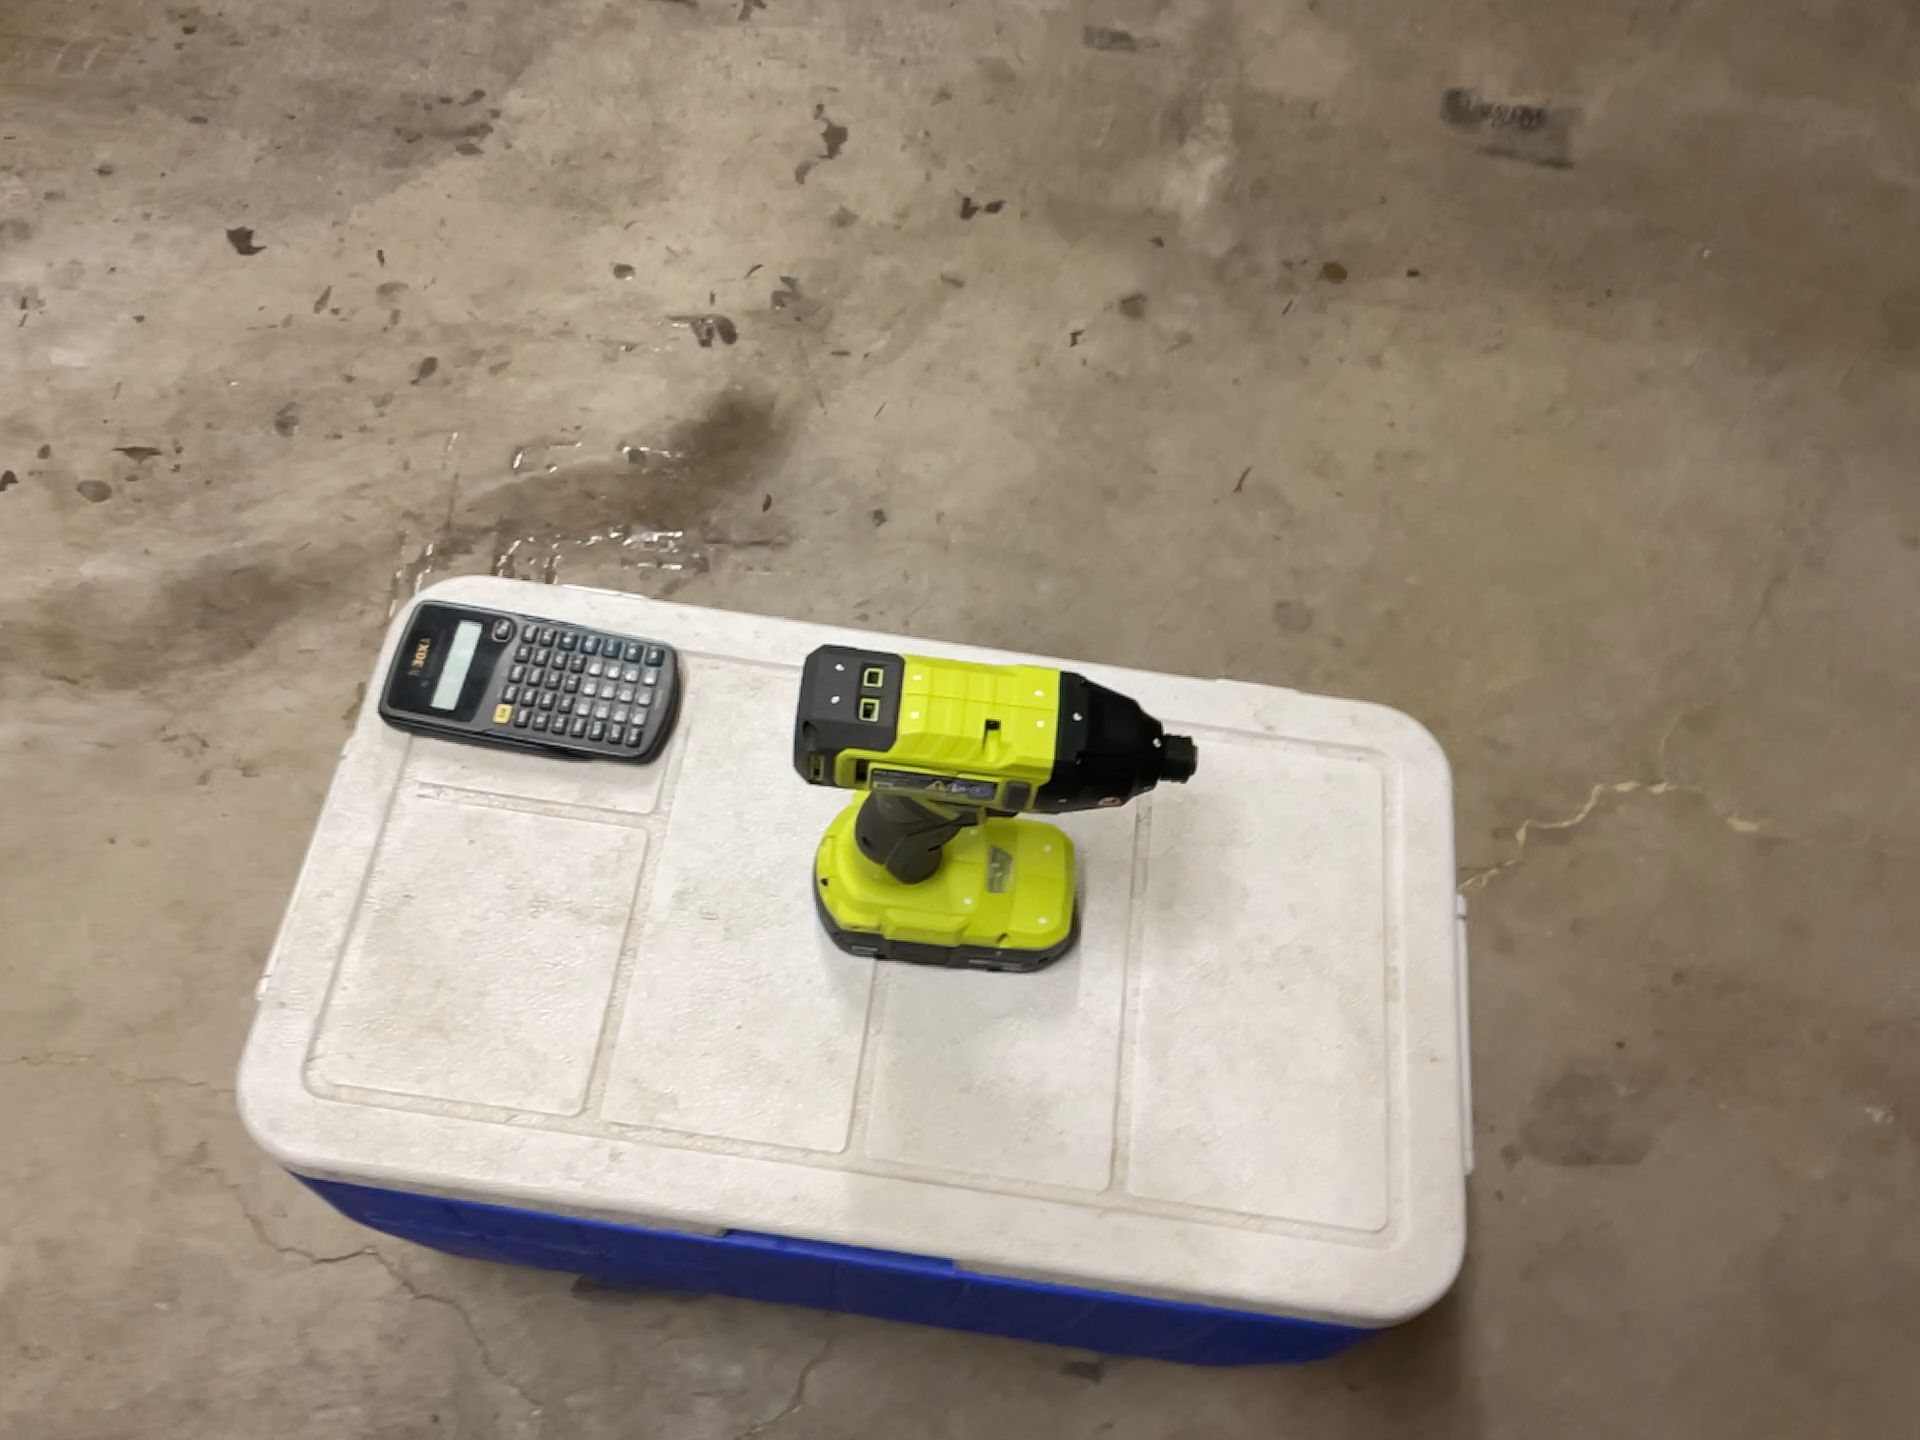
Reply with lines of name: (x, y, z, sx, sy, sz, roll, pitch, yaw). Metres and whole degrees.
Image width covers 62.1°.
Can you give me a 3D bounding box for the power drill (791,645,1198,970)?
power drill: (0.008, 0.046, 0.756, 0.171, 0.223, 0.080, 7, 63, -3)
